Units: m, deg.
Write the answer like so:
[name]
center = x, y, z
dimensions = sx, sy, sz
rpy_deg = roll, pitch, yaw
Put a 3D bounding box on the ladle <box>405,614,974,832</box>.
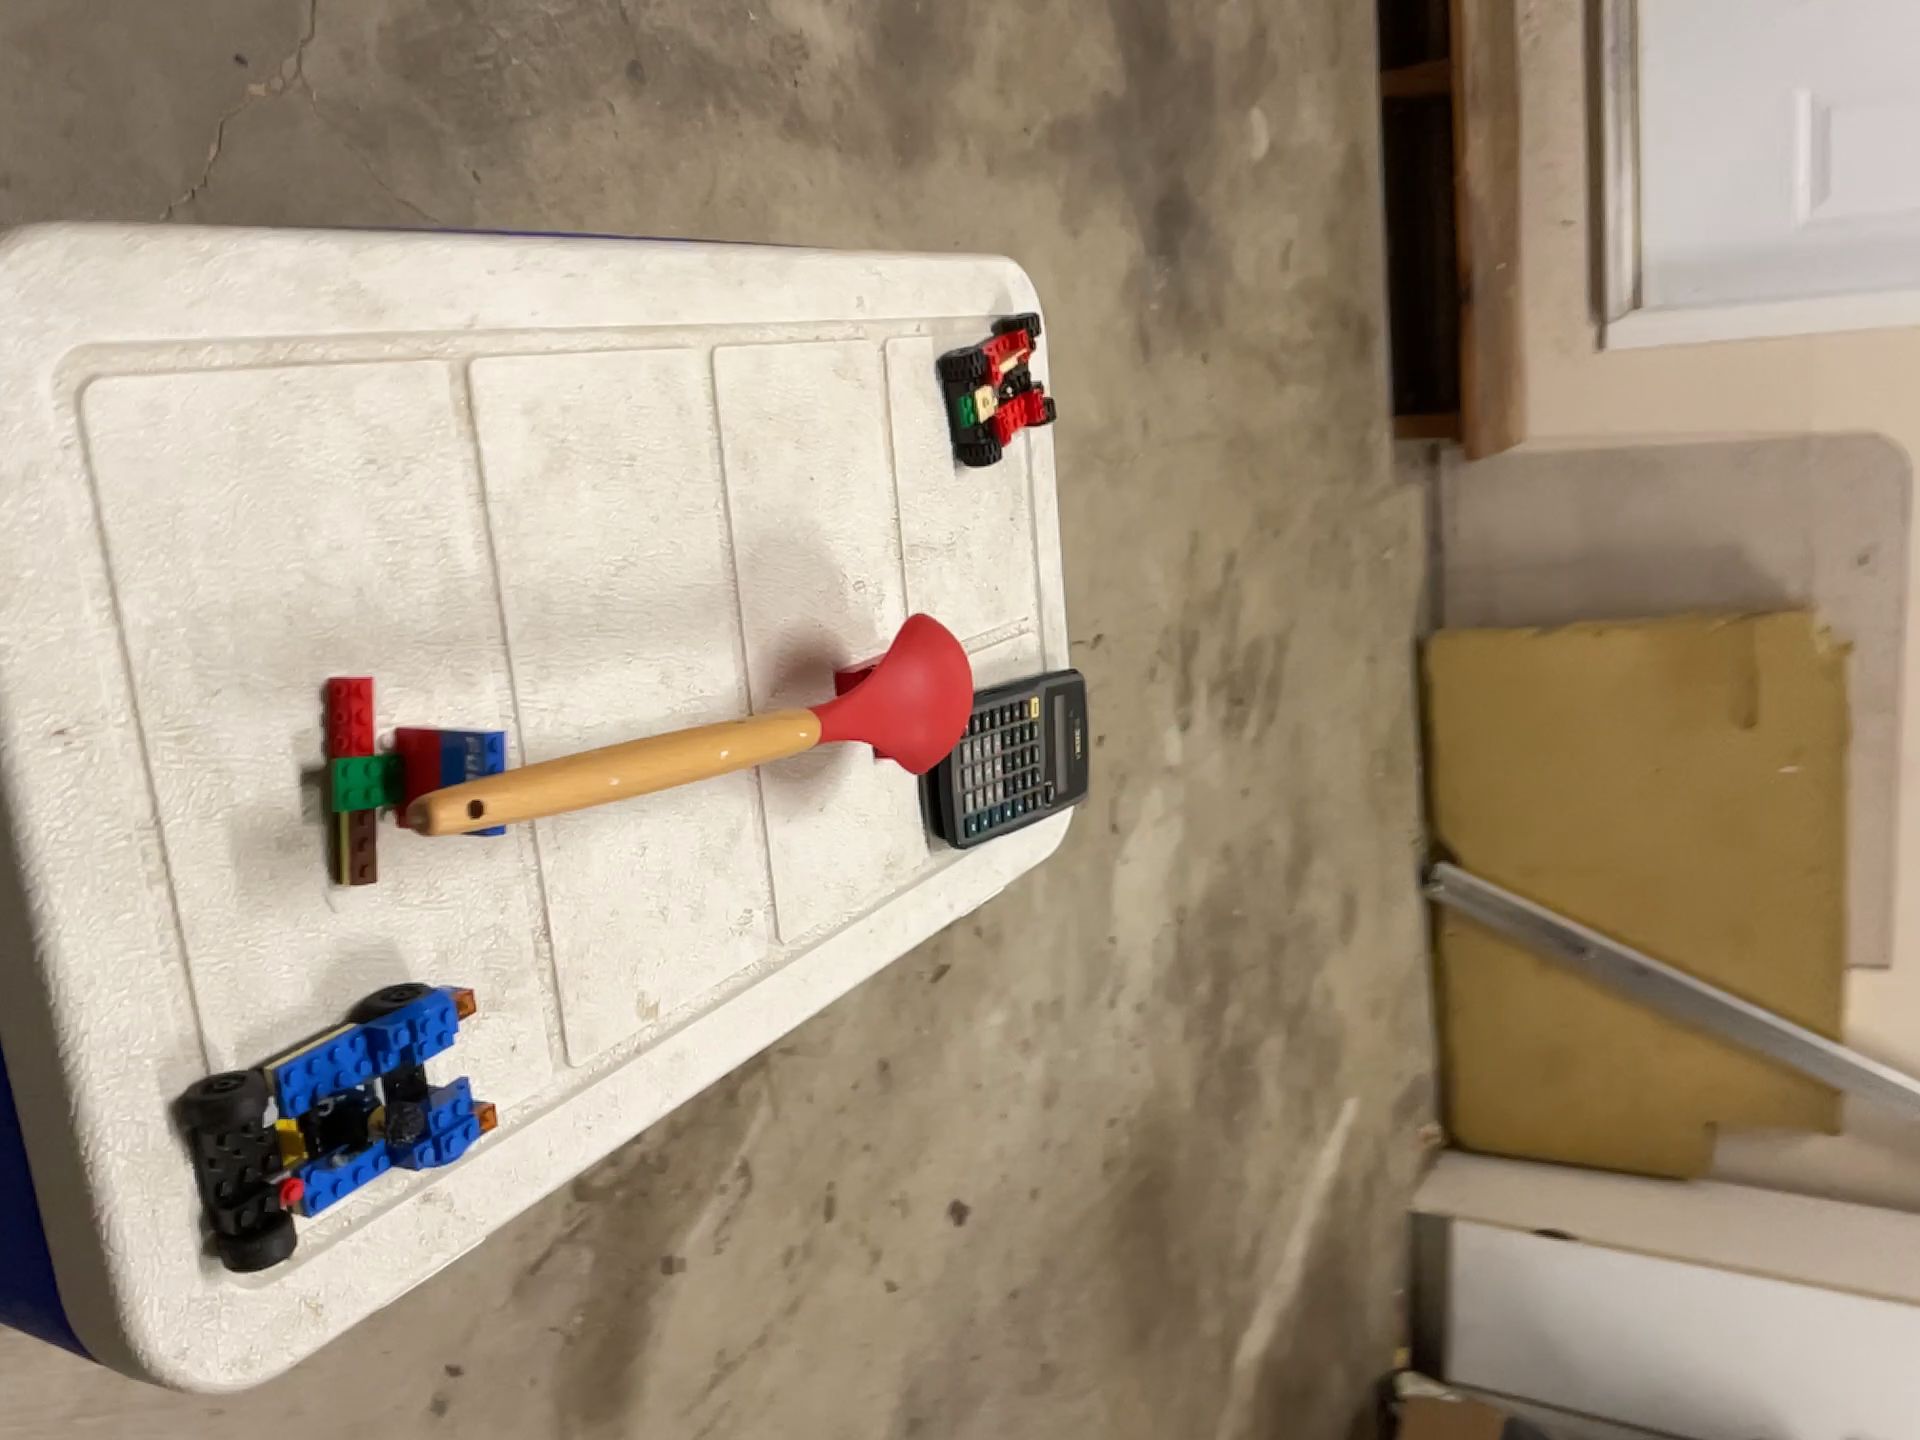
[ladle]
center = -0.073, 0.005, 0.581
dimensions = 0.315, 0.031, 0.069
rpy_deg = -15, 105, -59
